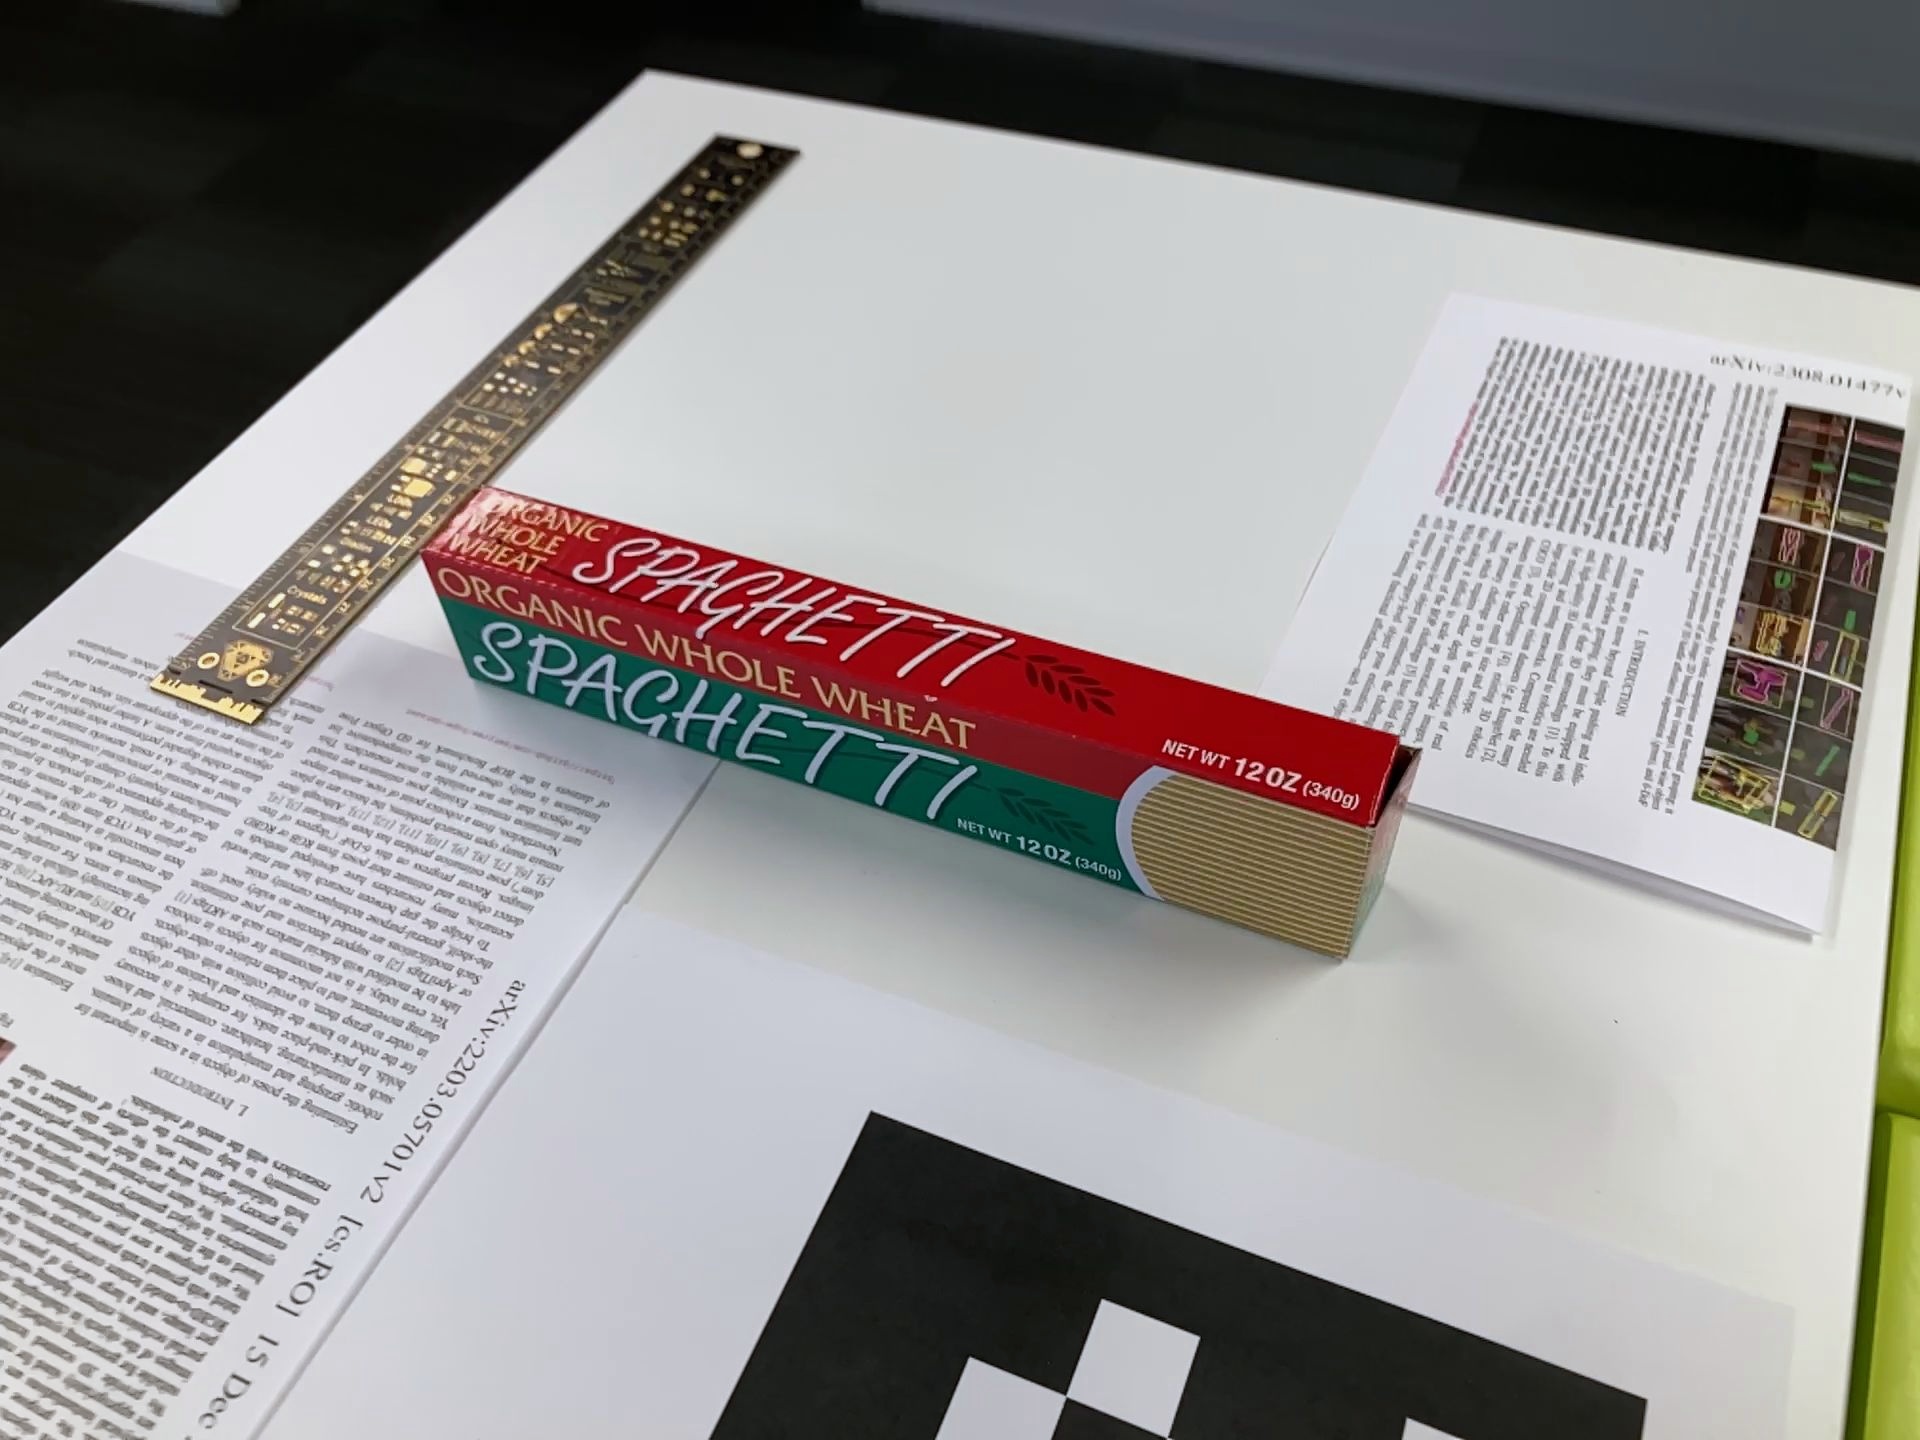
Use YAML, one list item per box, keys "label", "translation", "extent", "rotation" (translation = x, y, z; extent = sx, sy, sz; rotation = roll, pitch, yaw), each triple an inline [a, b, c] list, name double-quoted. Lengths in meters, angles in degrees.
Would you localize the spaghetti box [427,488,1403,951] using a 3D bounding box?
- label: "spaghetti box"
  translation: [-0.021, -0.004, 0.396]
  extent: [0.250, 0.050, 0.028]
  rotation: [16, 50, 18]
